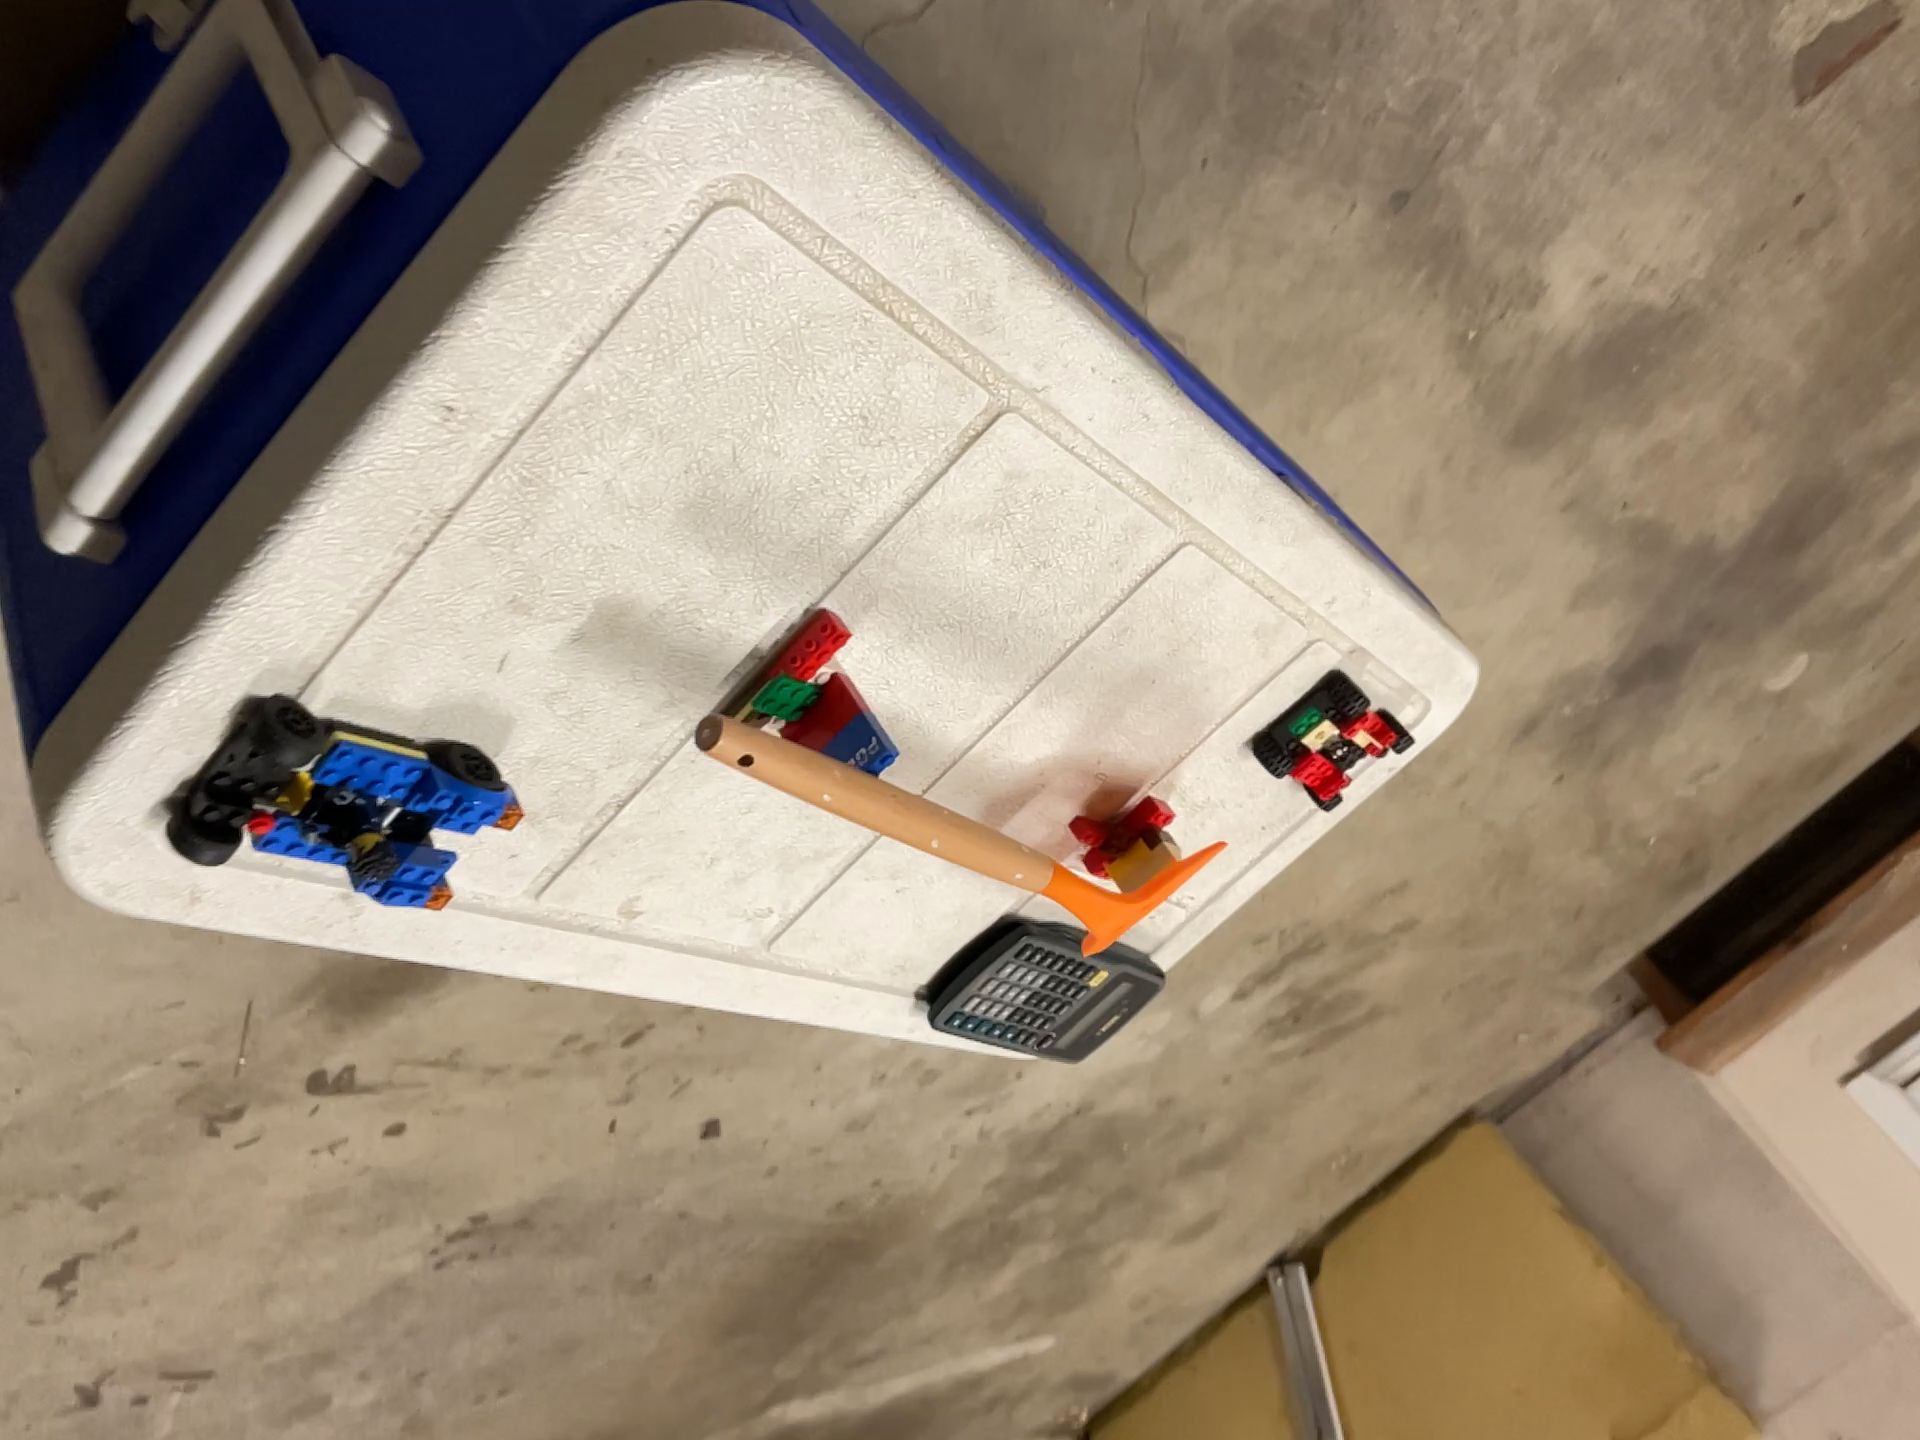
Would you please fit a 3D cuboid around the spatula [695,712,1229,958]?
[{"bbox_3d":[0.012,0.047,0.616,0.081,0.041,0.322,-43,142,16],"label":"spatula"}]
